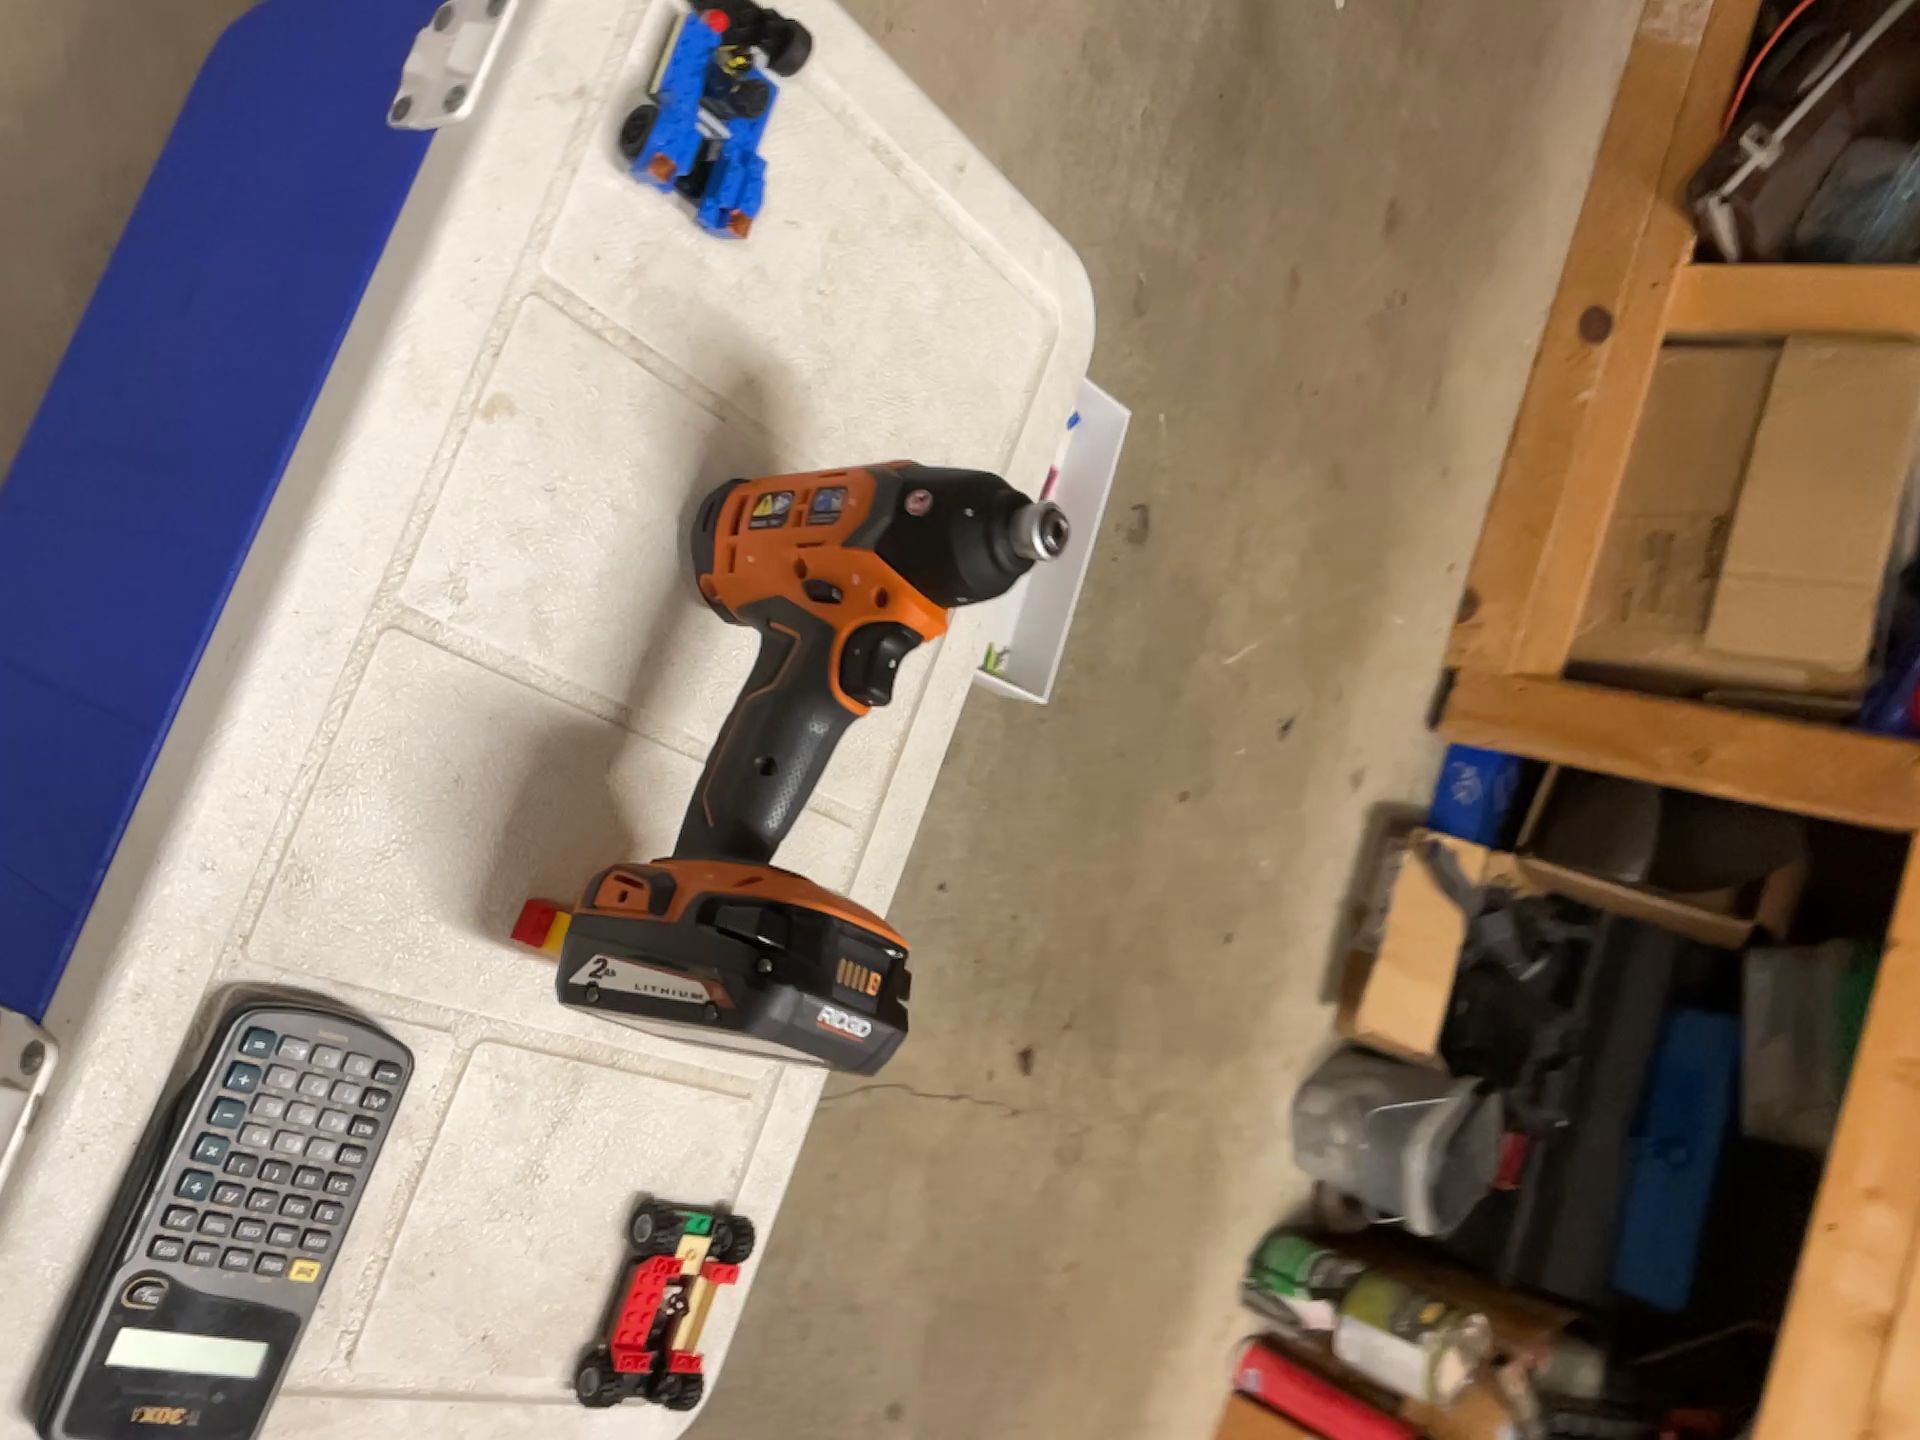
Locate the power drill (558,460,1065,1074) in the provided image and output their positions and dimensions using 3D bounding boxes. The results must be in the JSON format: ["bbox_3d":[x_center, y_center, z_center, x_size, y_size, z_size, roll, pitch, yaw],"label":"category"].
[{"bbox_3d":[-0.050,0.007,0.589,0.084,0.164,0.227,34,64,-46],"label":"power drill"}]
